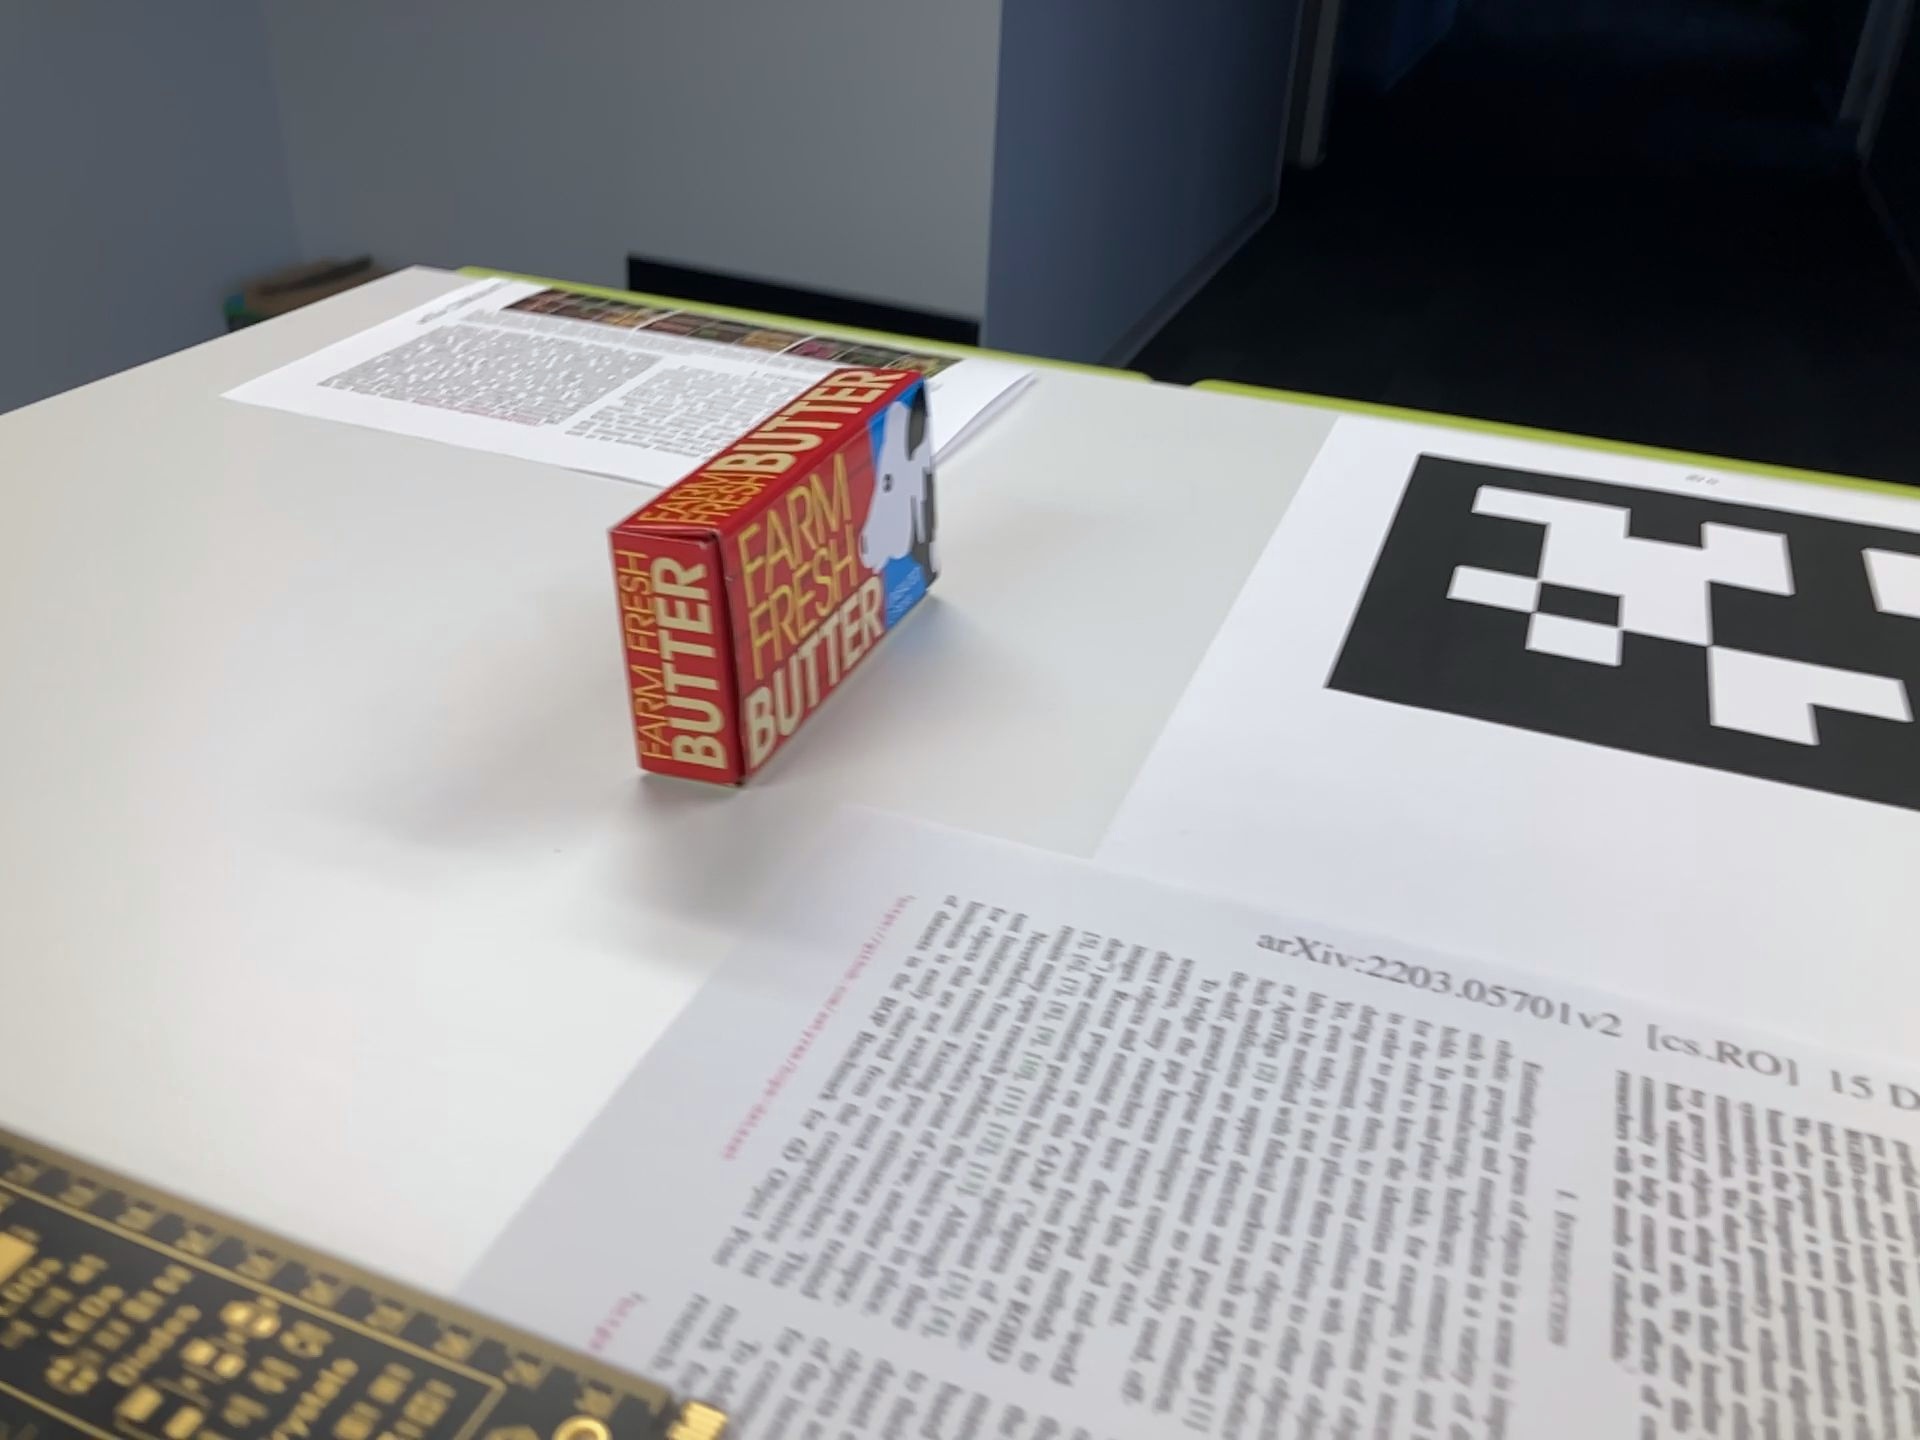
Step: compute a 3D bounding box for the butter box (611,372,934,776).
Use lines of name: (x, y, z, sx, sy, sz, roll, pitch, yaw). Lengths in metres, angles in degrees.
butter box: (-0.035, -0.036, 0.342, 0.024, 0.053, 0.103, 8, 30, 19)
